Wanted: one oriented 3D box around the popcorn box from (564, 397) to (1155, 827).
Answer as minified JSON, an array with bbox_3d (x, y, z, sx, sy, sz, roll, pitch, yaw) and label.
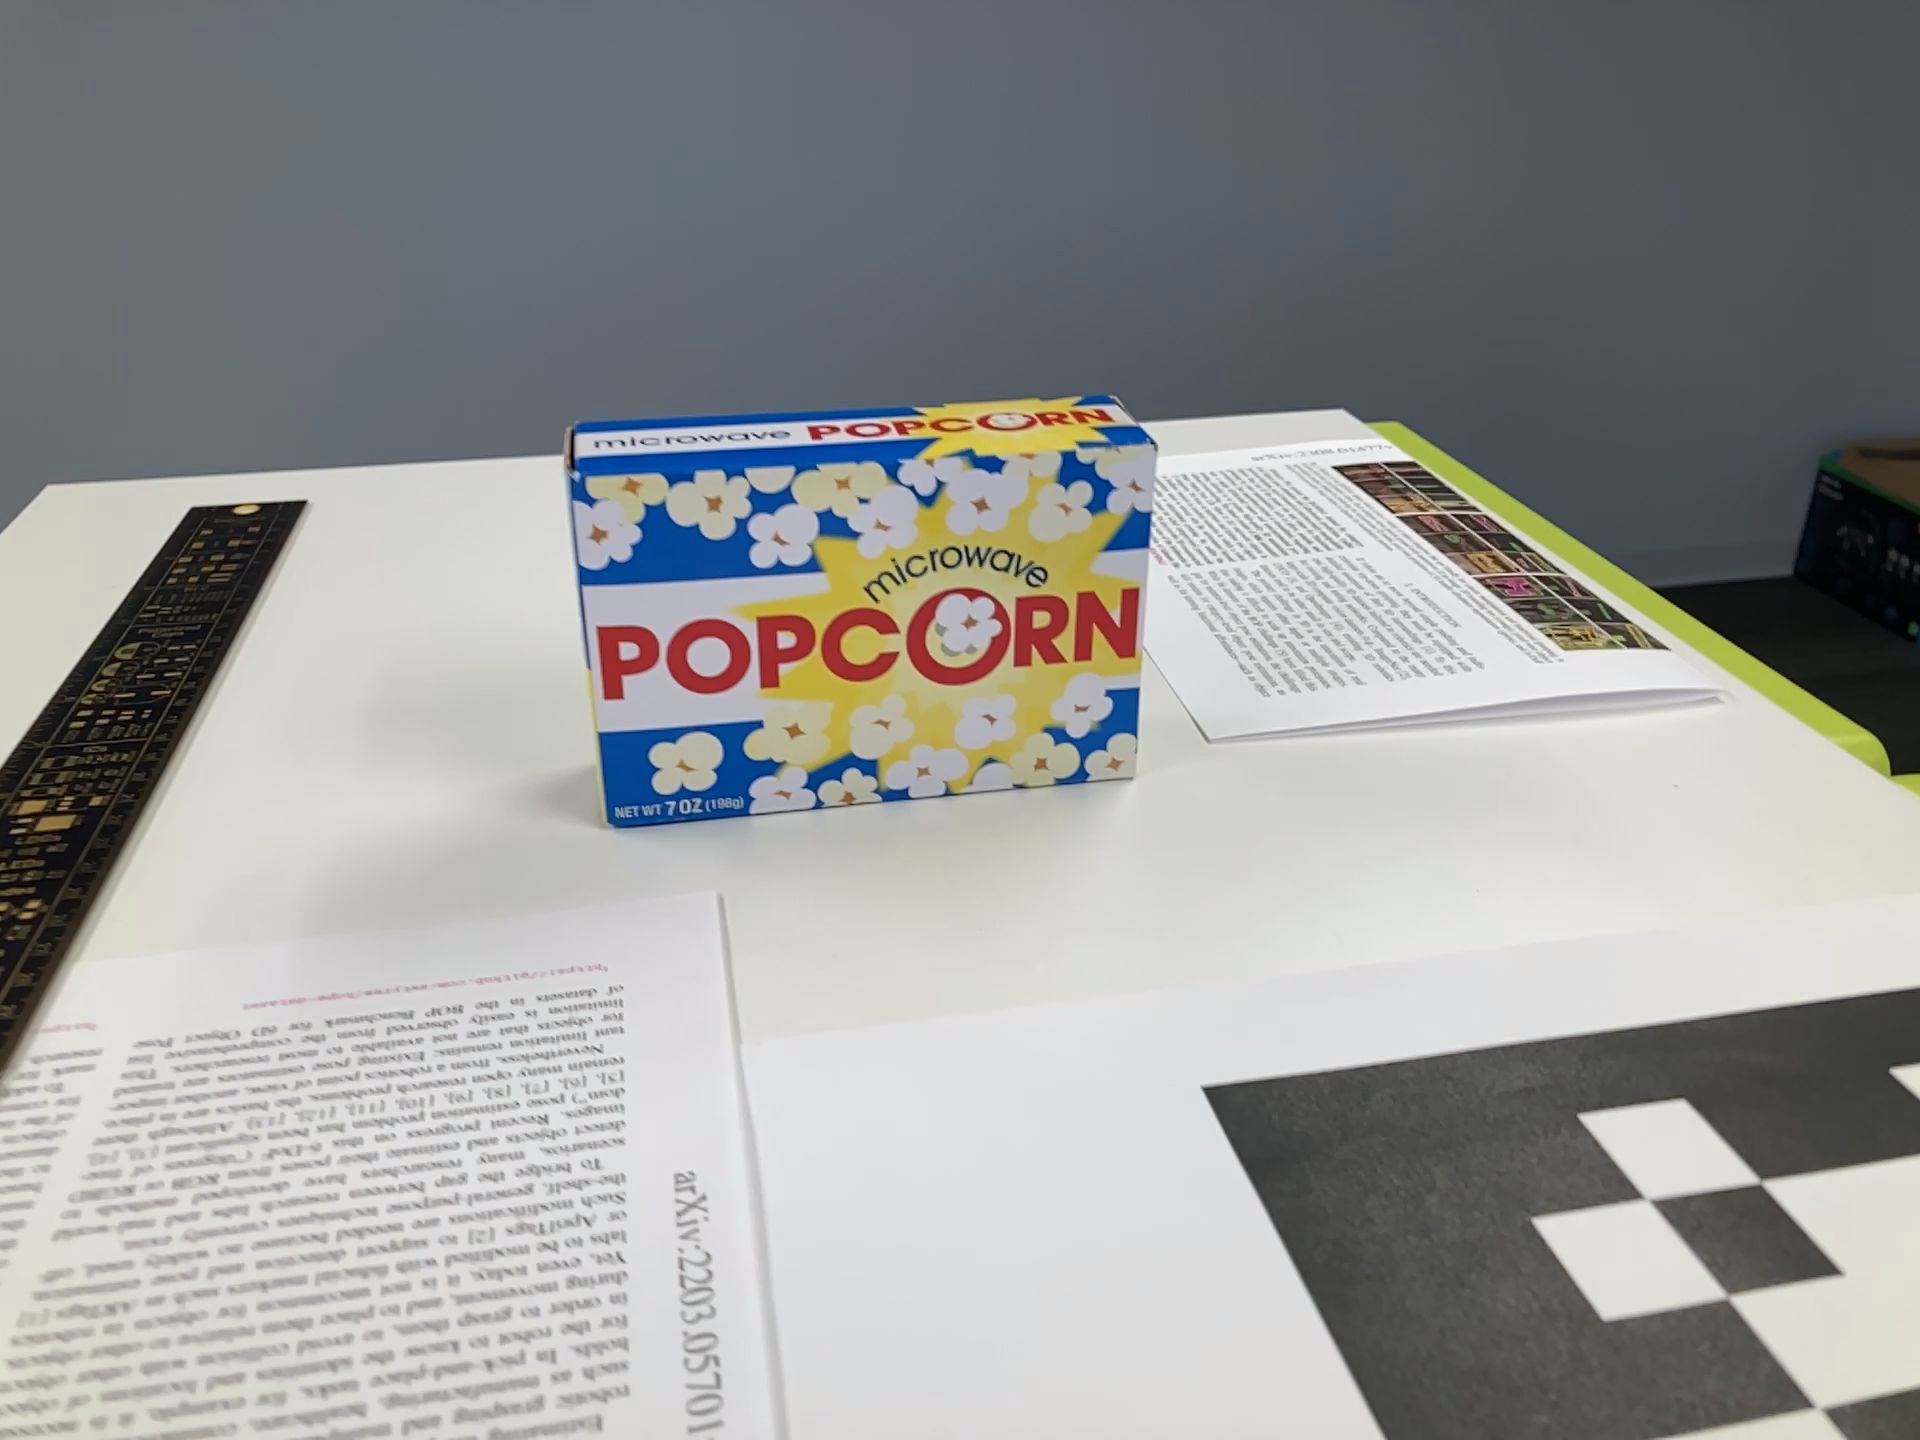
[{"bbox_3d":[-0.022,-0.026,0.365,0.126,0.085,0.038,-5,27,-10],"label":"popcorn box"}]
